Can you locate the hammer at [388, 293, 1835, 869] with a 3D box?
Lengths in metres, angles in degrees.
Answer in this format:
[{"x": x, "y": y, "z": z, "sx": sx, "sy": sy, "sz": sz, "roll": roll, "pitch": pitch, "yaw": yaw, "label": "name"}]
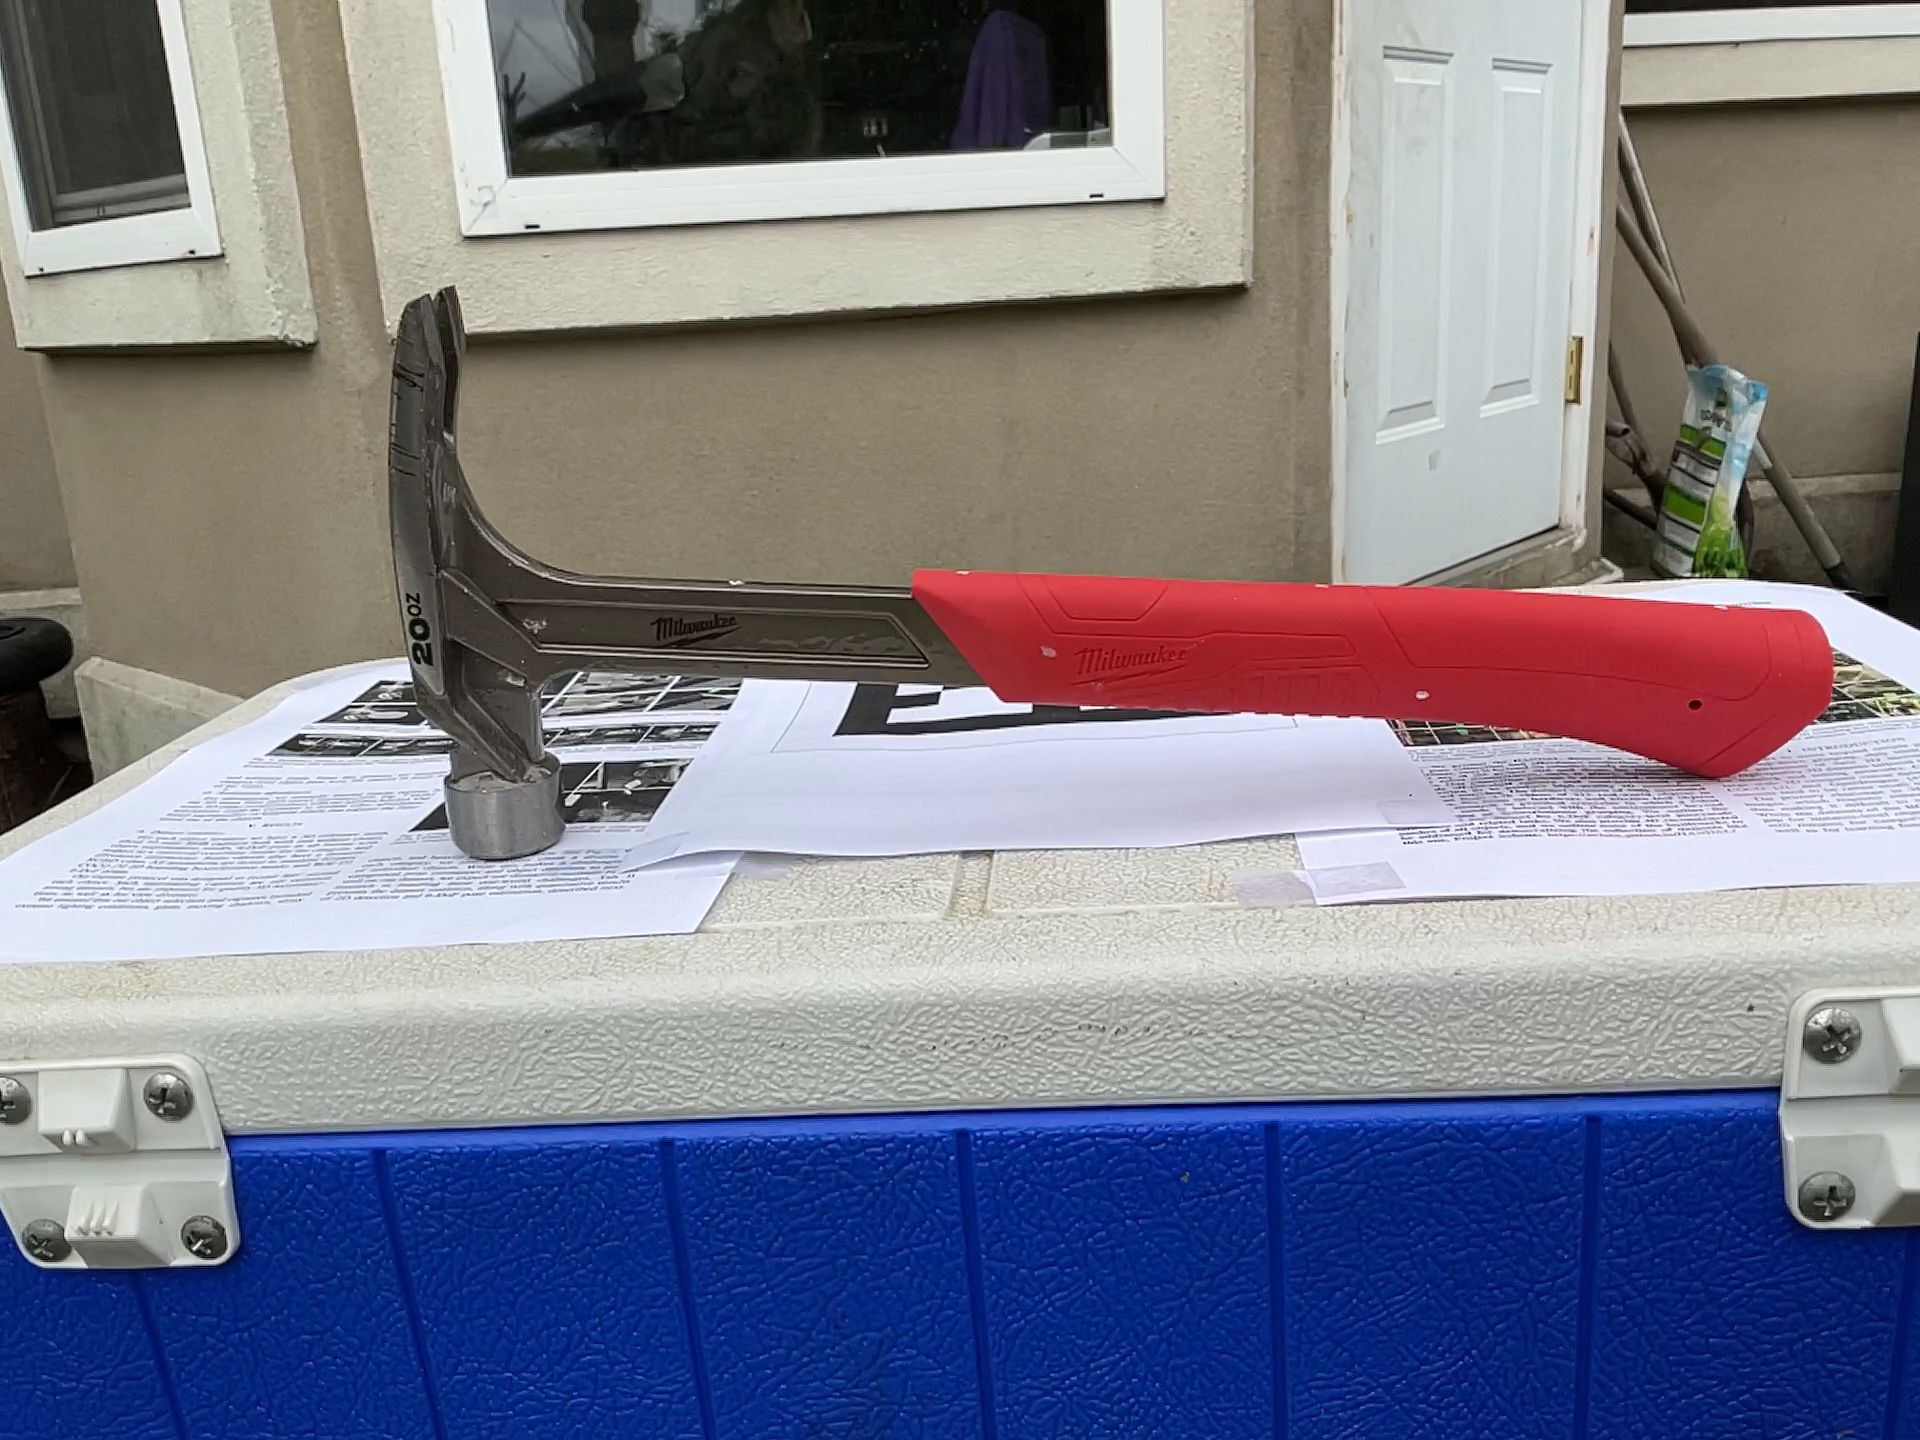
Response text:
[{"x": 0.037, "y": -0.028, "z": 0.412, "sx": 0.359, "sy": 0.149, "sz": 0.037, "roll": 2, "pitch": 22, "yaw": 1, "label": "hammer"}]
